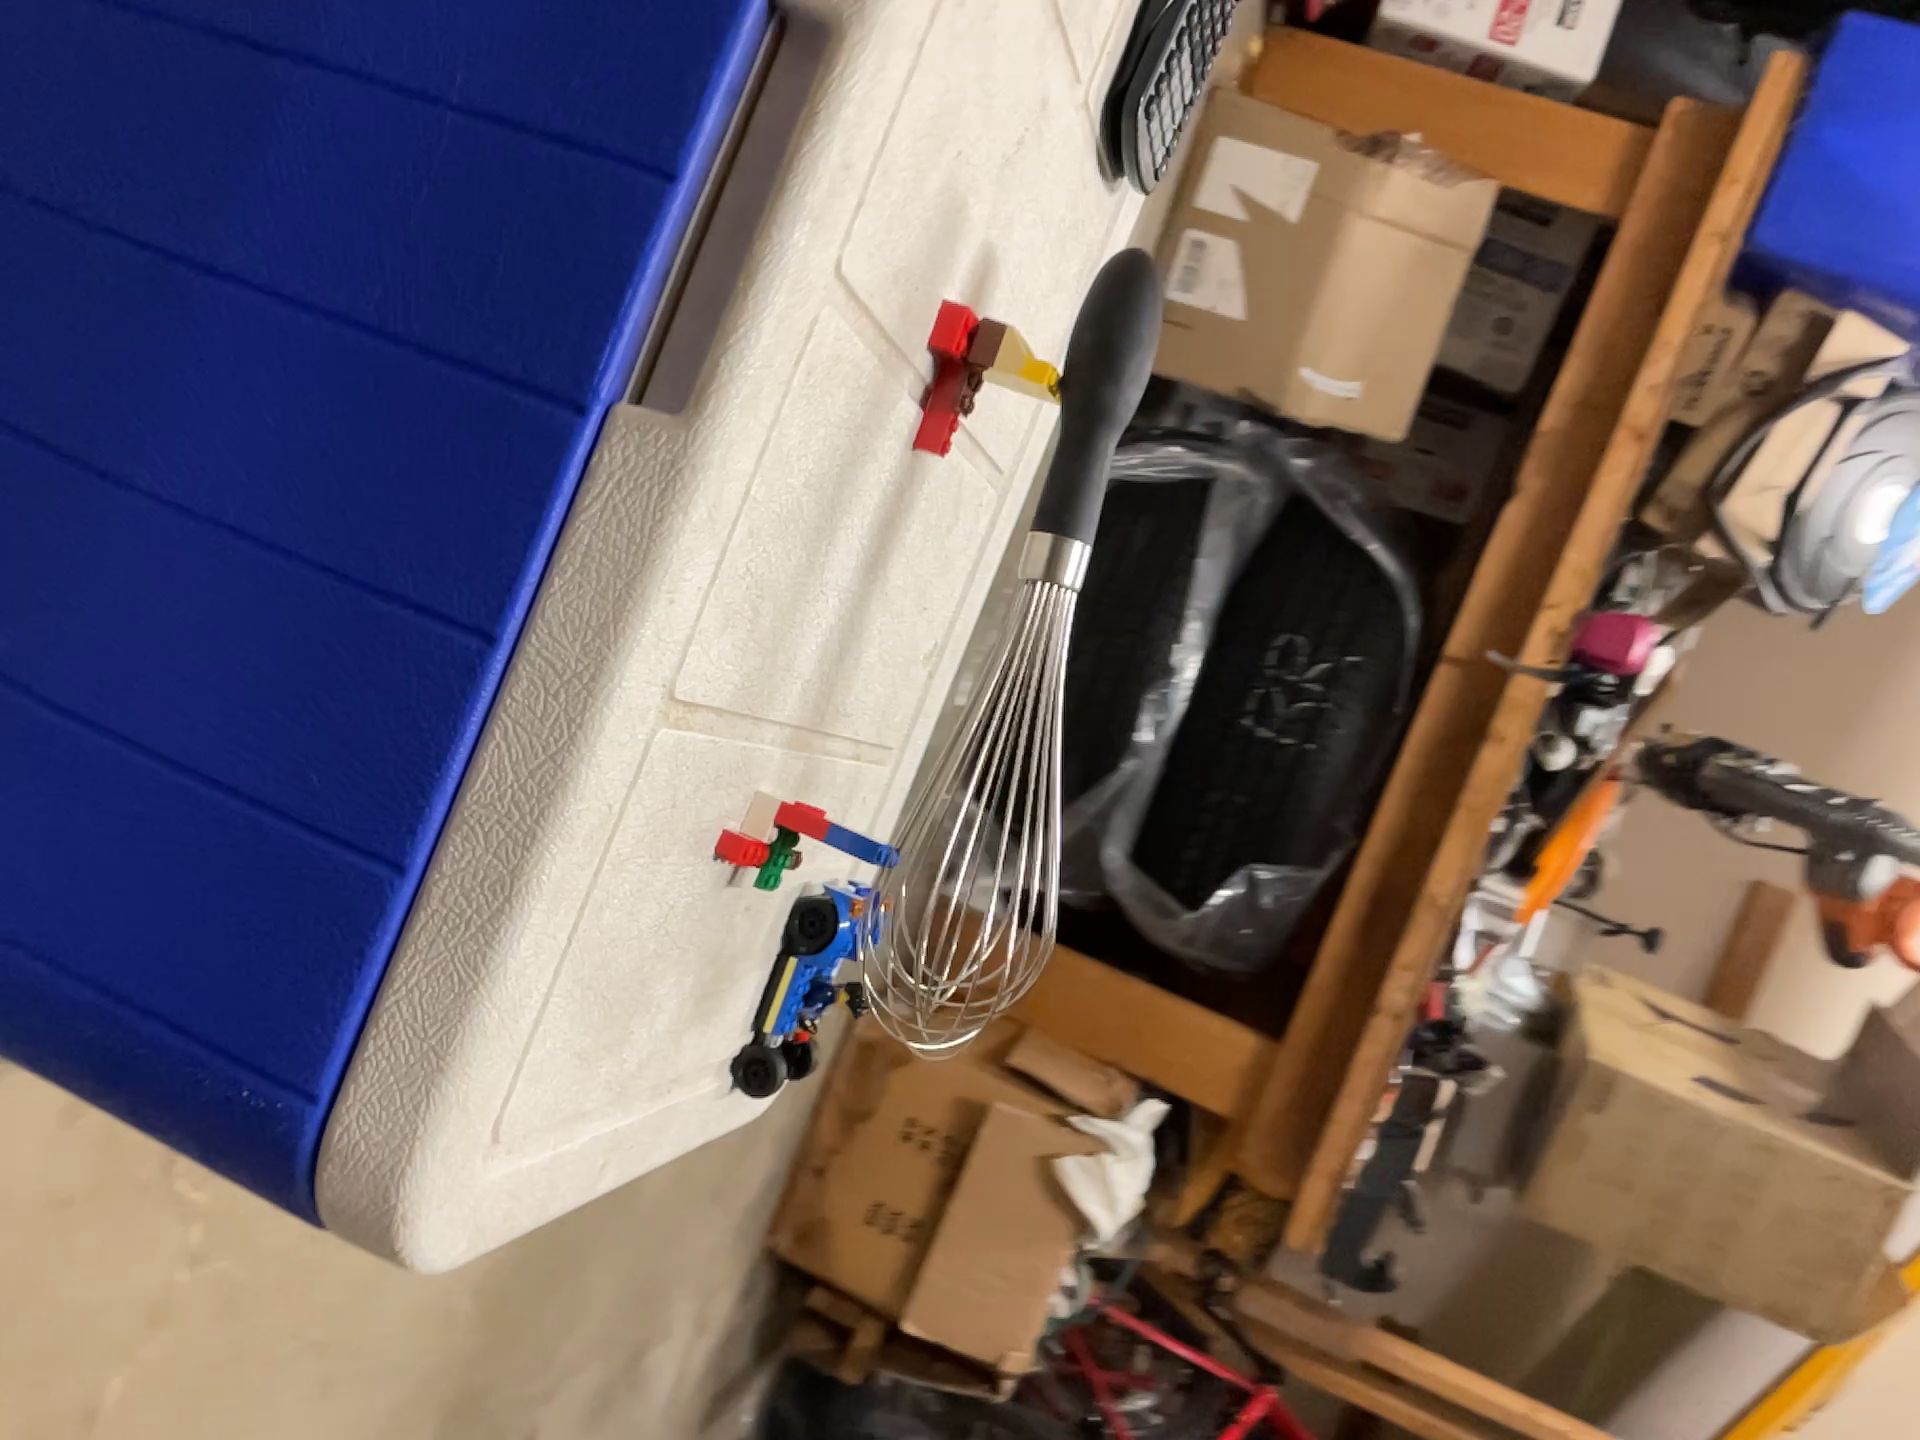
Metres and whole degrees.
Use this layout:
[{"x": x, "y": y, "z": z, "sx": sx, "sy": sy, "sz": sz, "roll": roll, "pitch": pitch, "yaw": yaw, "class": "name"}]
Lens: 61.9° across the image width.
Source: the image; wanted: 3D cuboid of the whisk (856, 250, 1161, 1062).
[{"x": 0.024, "y": -0.023, "z": 0.546, "sx": 0.070, "sy": 0.070, "sz": 0.284, "roll": 15, "pitch": 90, "yaw": -72, "class": "whisk"}]
